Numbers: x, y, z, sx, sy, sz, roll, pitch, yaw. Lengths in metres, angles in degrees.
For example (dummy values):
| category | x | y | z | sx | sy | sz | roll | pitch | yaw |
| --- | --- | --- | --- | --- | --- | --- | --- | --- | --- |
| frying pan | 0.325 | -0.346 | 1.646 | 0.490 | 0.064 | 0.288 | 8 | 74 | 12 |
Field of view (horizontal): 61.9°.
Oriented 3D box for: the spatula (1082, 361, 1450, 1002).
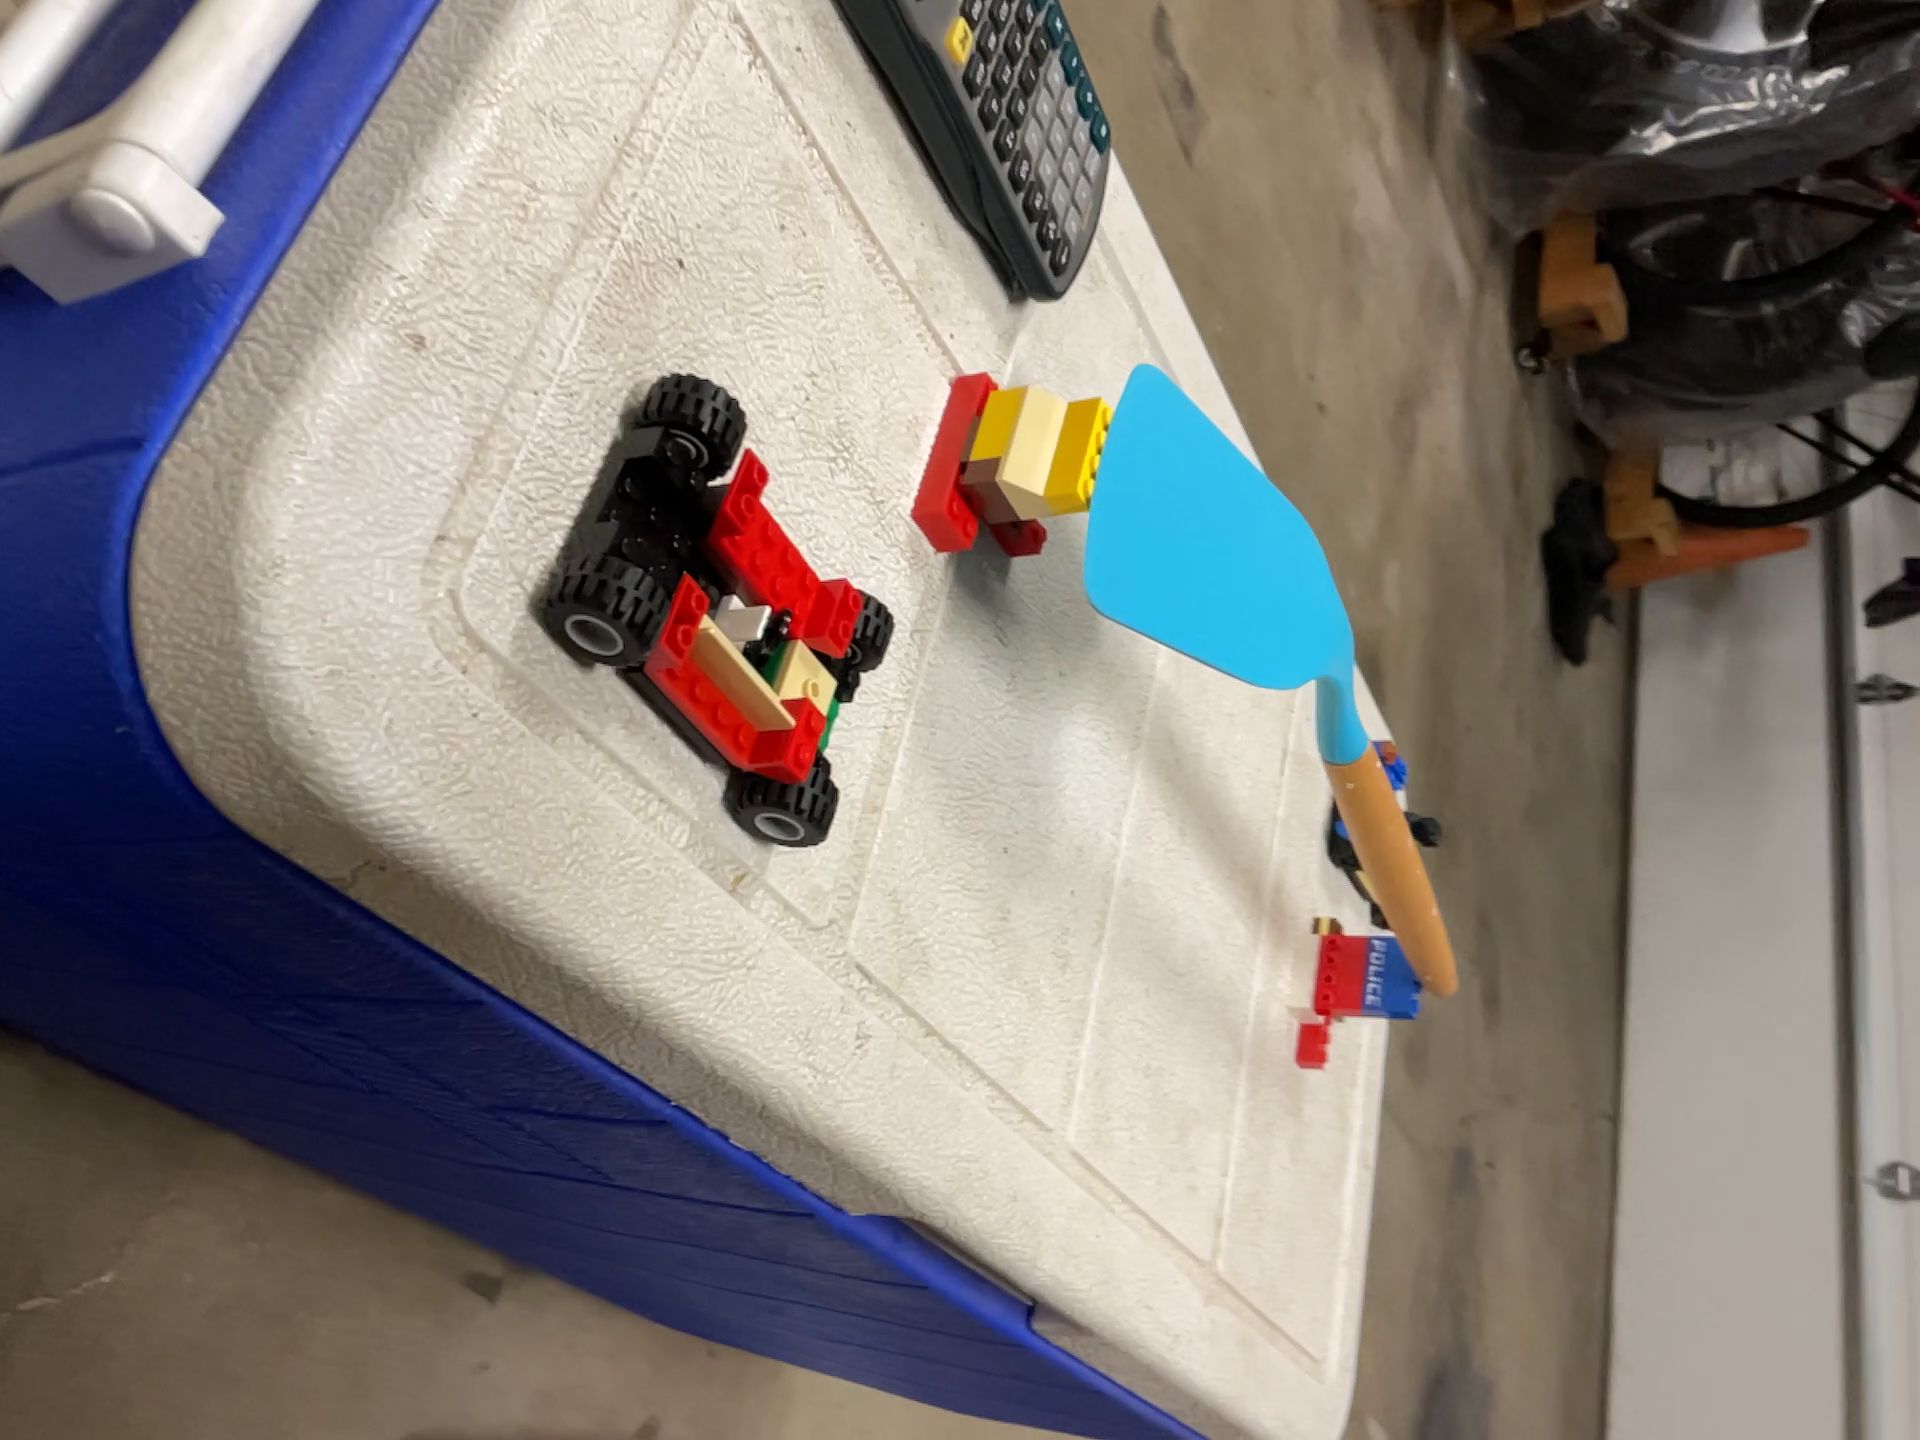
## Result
| category | x | y | z | sx | sy | sz | roll | pitch | yaw |
| --- | --- | --- | --- | --- | --- | --- | --- | --- | --- |
| spatula | 0.116 | 0.020 | 0.510 | 0.317 | 0.044 | 0.082 | 54 | 42 | -49 |
